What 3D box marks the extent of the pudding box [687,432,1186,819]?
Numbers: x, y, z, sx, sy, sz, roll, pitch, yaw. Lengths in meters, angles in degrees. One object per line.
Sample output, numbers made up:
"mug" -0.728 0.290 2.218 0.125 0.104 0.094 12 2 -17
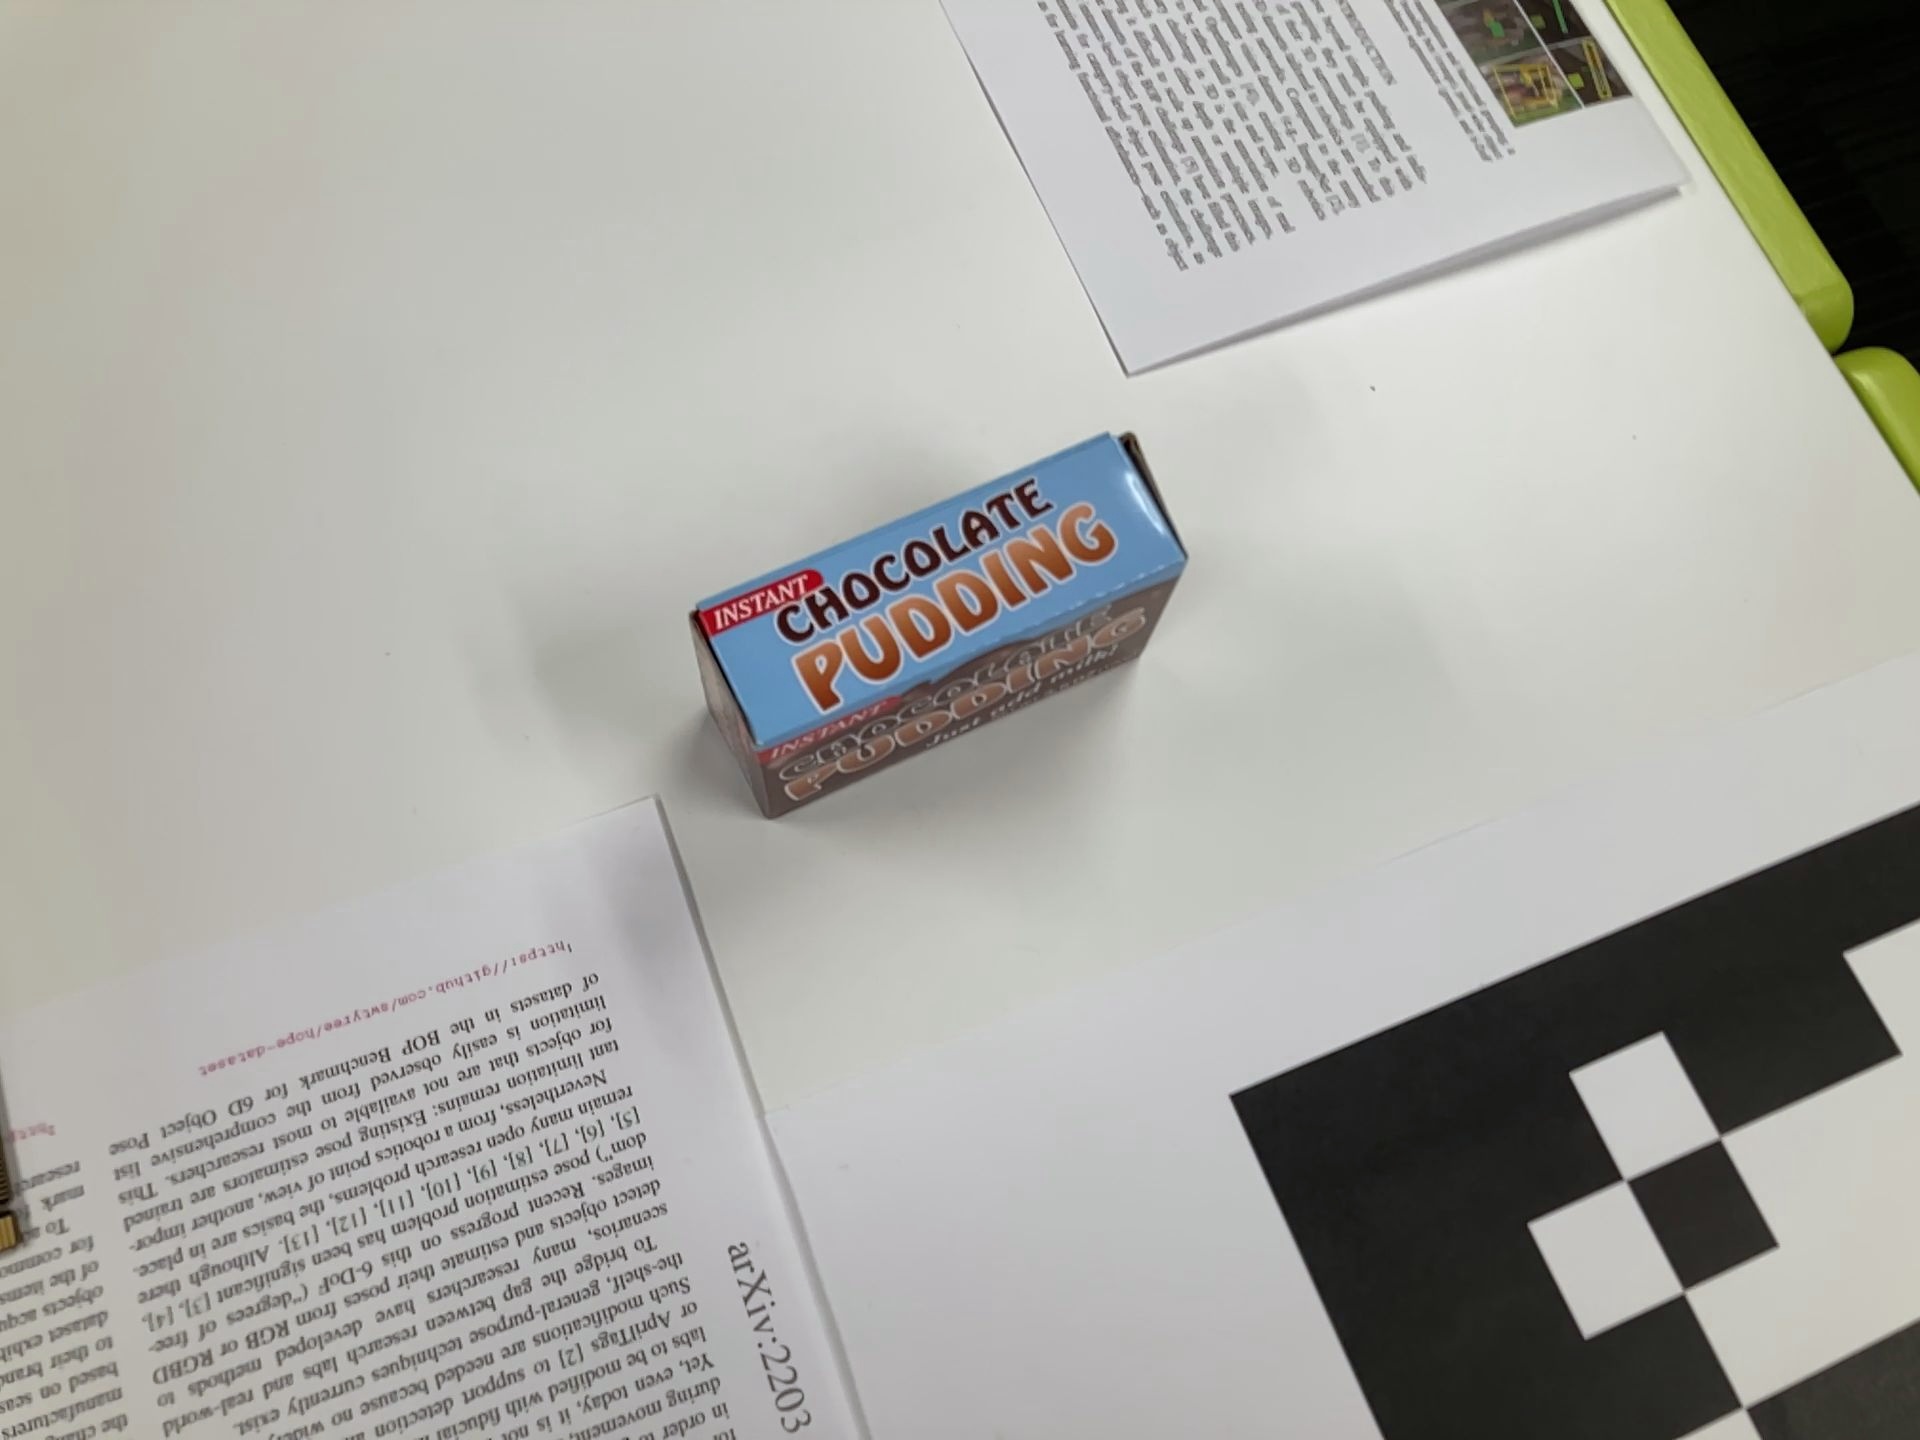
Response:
"pudding box" -0.005 -0.016 0.289 0.083 0.049 0.030 -23 75 -12
